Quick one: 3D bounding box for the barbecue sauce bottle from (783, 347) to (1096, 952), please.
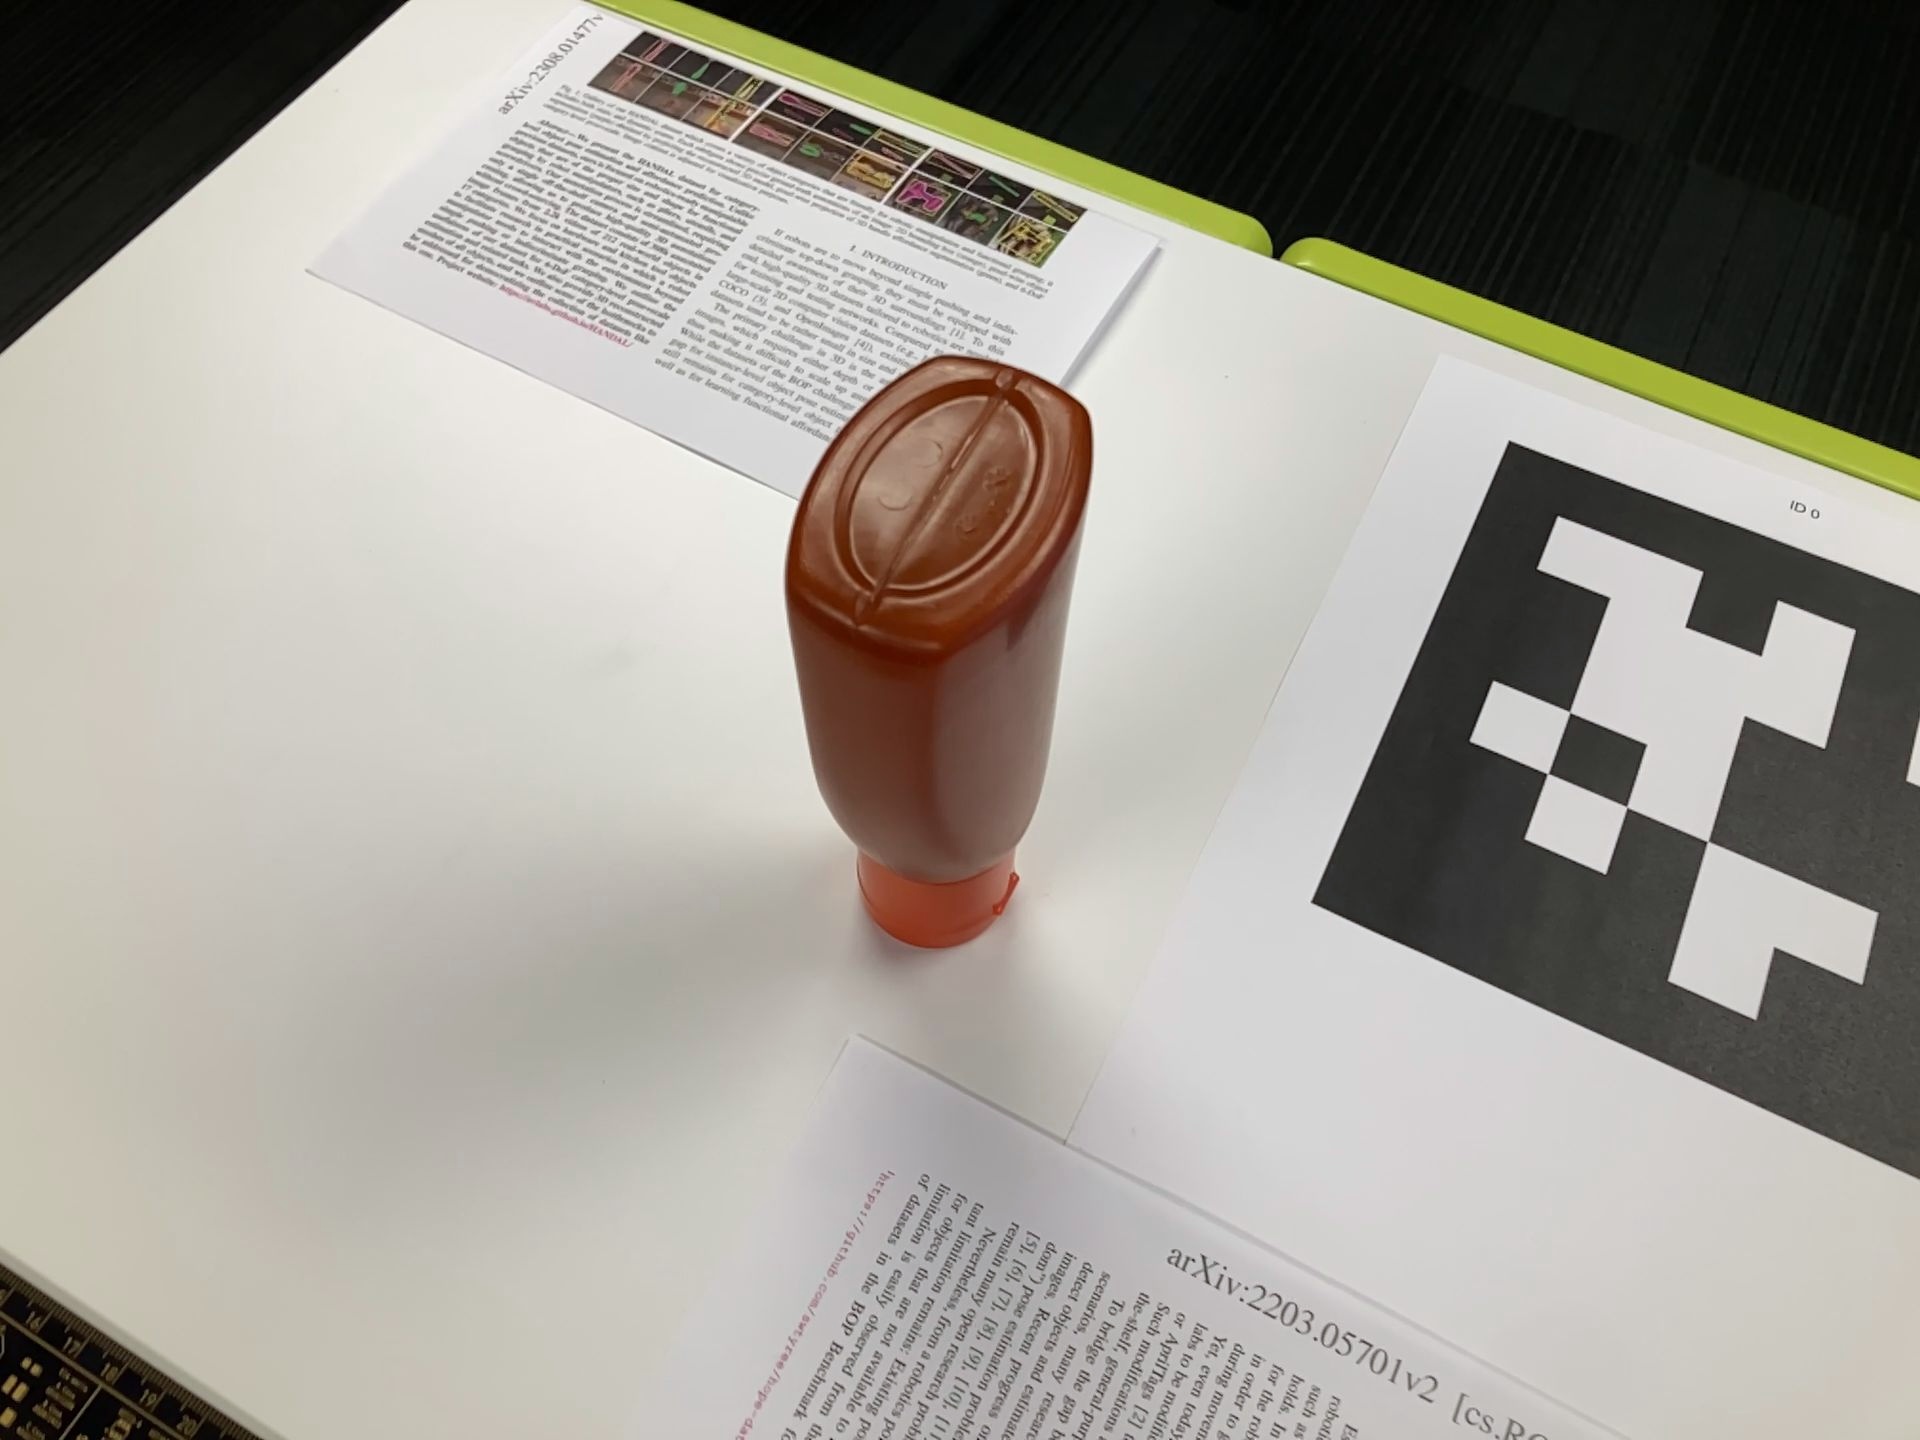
[{"bbox_3d":[-0.004,0.000,0.311,0.043,0.148,0.065,23,61,12],"label":"barbecue sauce bottle"}]
